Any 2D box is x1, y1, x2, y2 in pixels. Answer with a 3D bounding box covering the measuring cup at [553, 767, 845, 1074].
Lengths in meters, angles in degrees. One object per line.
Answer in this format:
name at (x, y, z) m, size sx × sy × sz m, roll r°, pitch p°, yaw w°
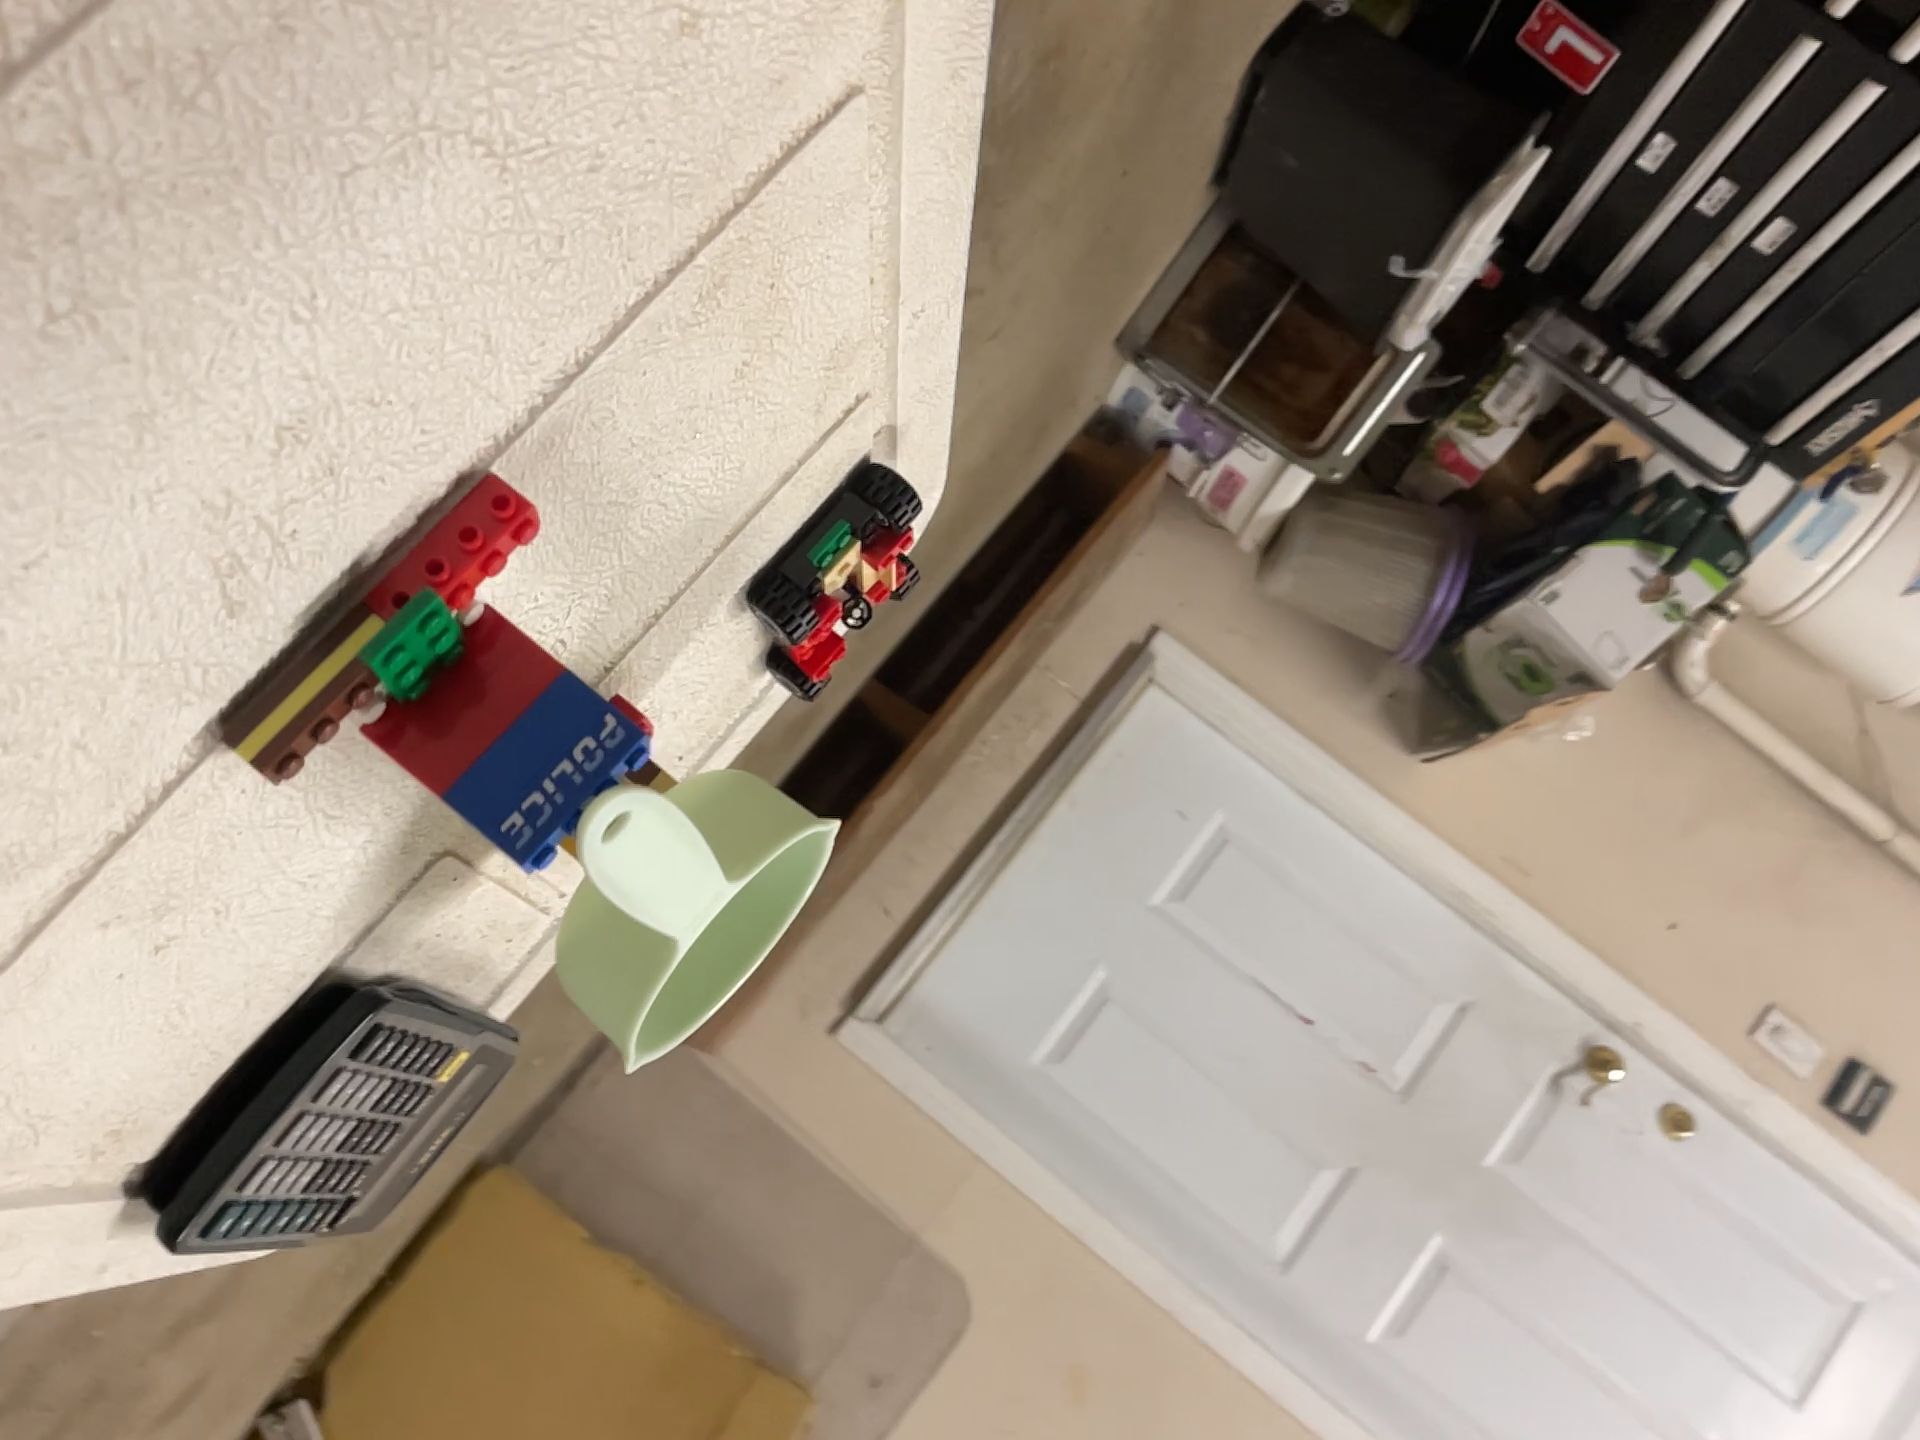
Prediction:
measuring cup at (-0.072, 0.034, 0.368) m, size 0.083 × 0.038 × 0.167 m, roll -49°, pitch 167°, yaw -11°
